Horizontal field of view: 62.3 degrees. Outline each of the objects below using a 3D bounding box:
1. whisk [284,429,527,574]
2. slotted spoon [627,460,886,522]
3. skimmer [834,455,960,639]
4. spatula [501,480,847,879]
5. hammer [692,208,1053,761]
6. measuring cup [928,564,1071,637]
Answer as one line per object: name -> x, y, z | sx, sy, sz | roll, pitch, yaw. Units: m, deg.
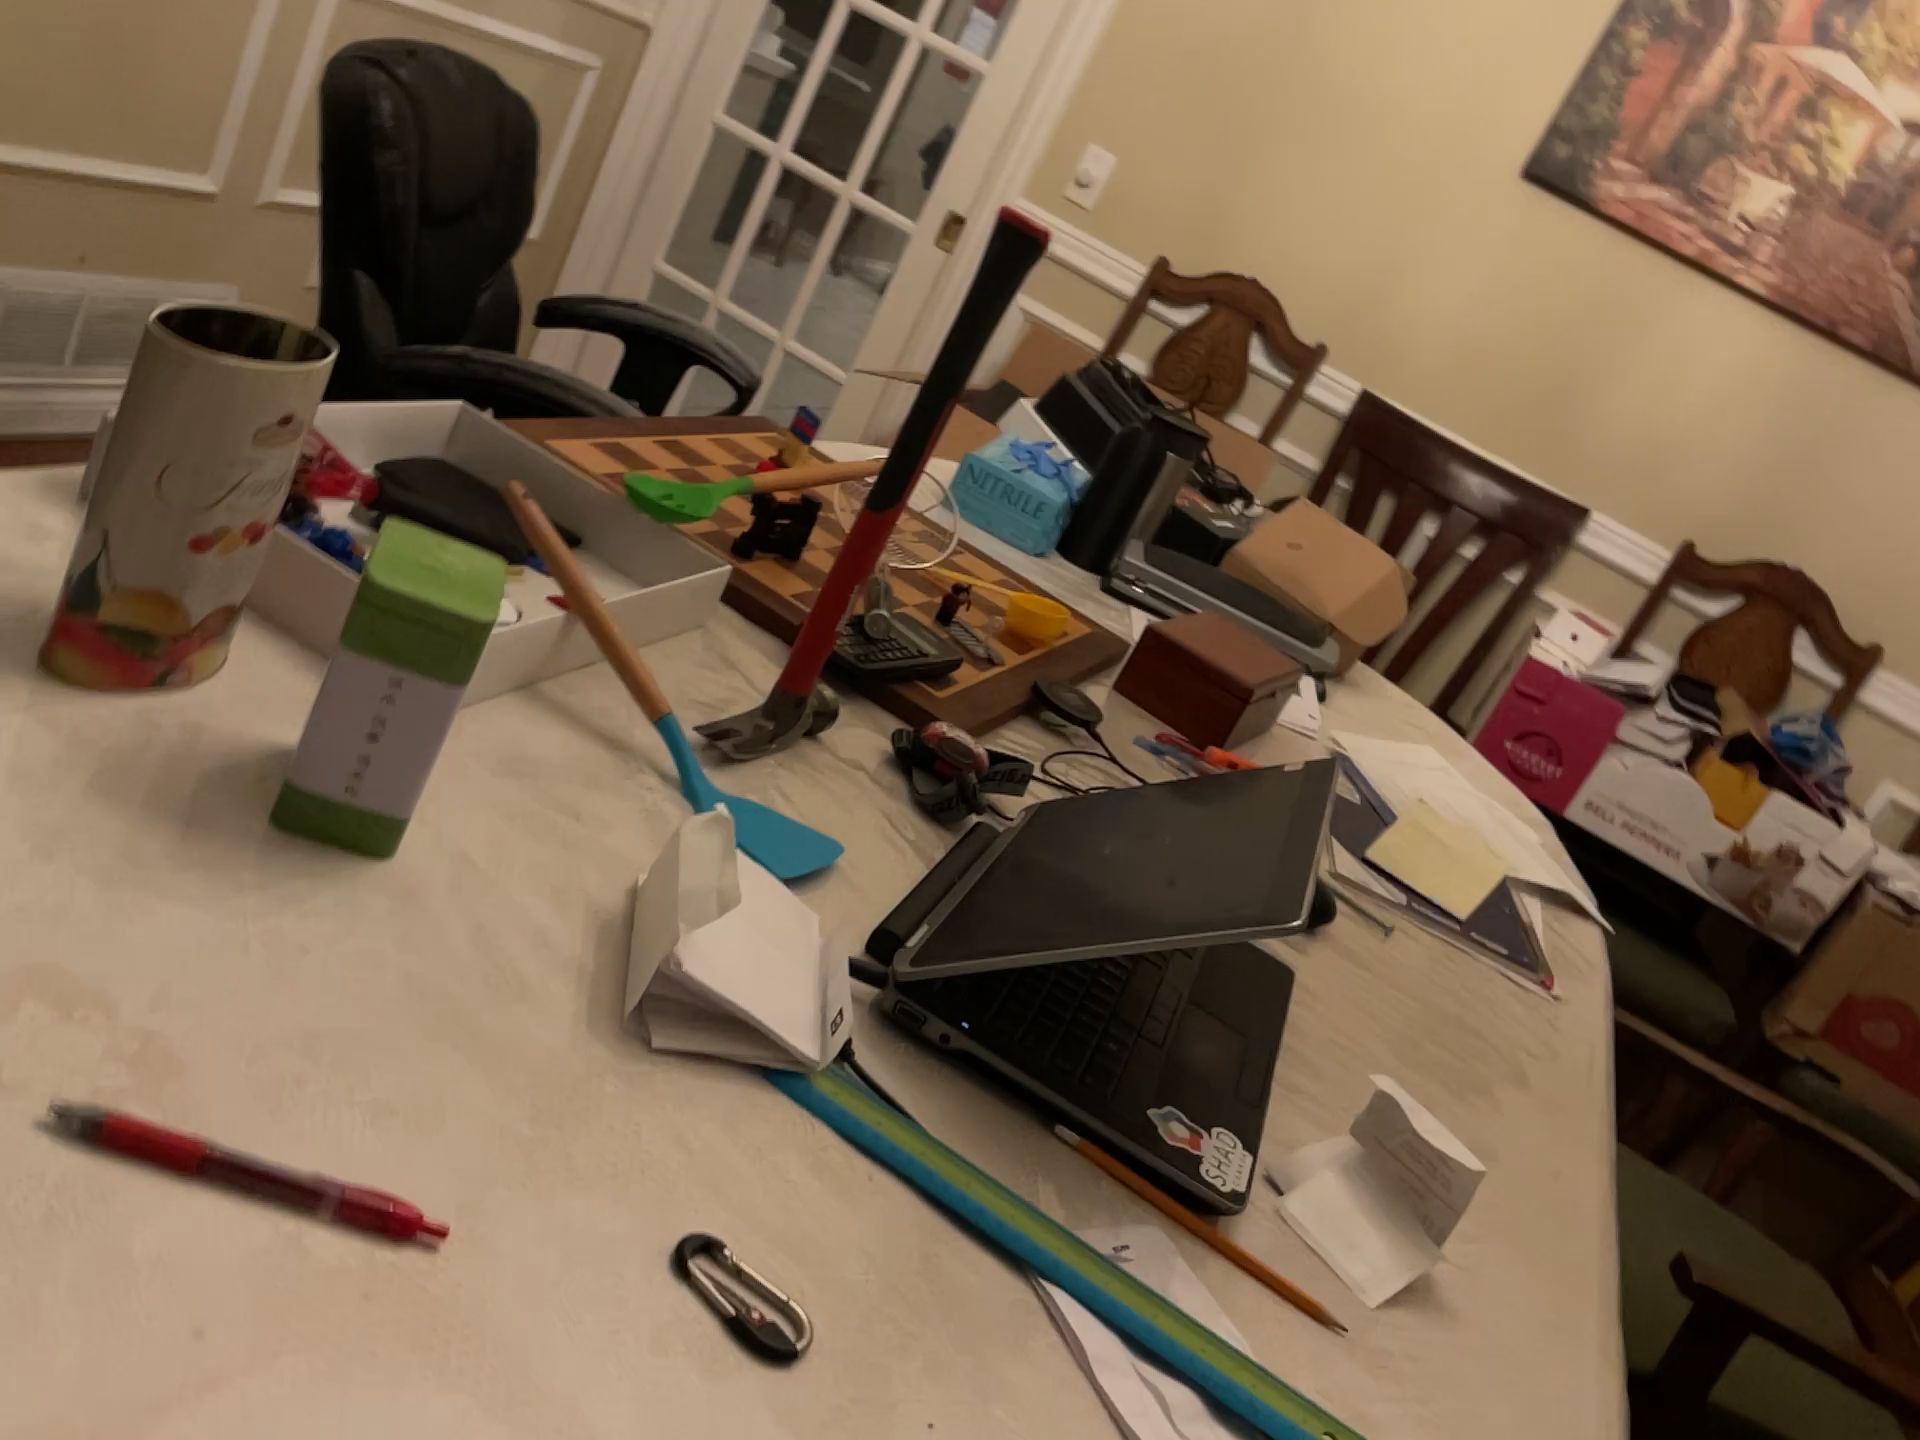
whisk -> -0.395, -0.152, 1.026 | 0.295, 0.073, 0.073 | 25, 33, -52
slotted spoon -> -0.158, -0.197, 1.323 | 0.070, 0.031, 0.313 | 35, 30, 23
skimmer -> -0.057, -0.155, 1.391 | 0.127, 0.090, 0.363 | 27, 16, -10
spatula -> -0.189, -0.028, 0.978 | 0.317, 0.044, 0.082 | 54, 27, 9
hammer -> -0.052, -0.143, 1.018 | 0.038, 0.386, 0.143 | 34, 20, 15
measuring cup -> 0.031, -0.117, 1.541 | 0.157, 0.029, 0.062 | 21, 20, 17
